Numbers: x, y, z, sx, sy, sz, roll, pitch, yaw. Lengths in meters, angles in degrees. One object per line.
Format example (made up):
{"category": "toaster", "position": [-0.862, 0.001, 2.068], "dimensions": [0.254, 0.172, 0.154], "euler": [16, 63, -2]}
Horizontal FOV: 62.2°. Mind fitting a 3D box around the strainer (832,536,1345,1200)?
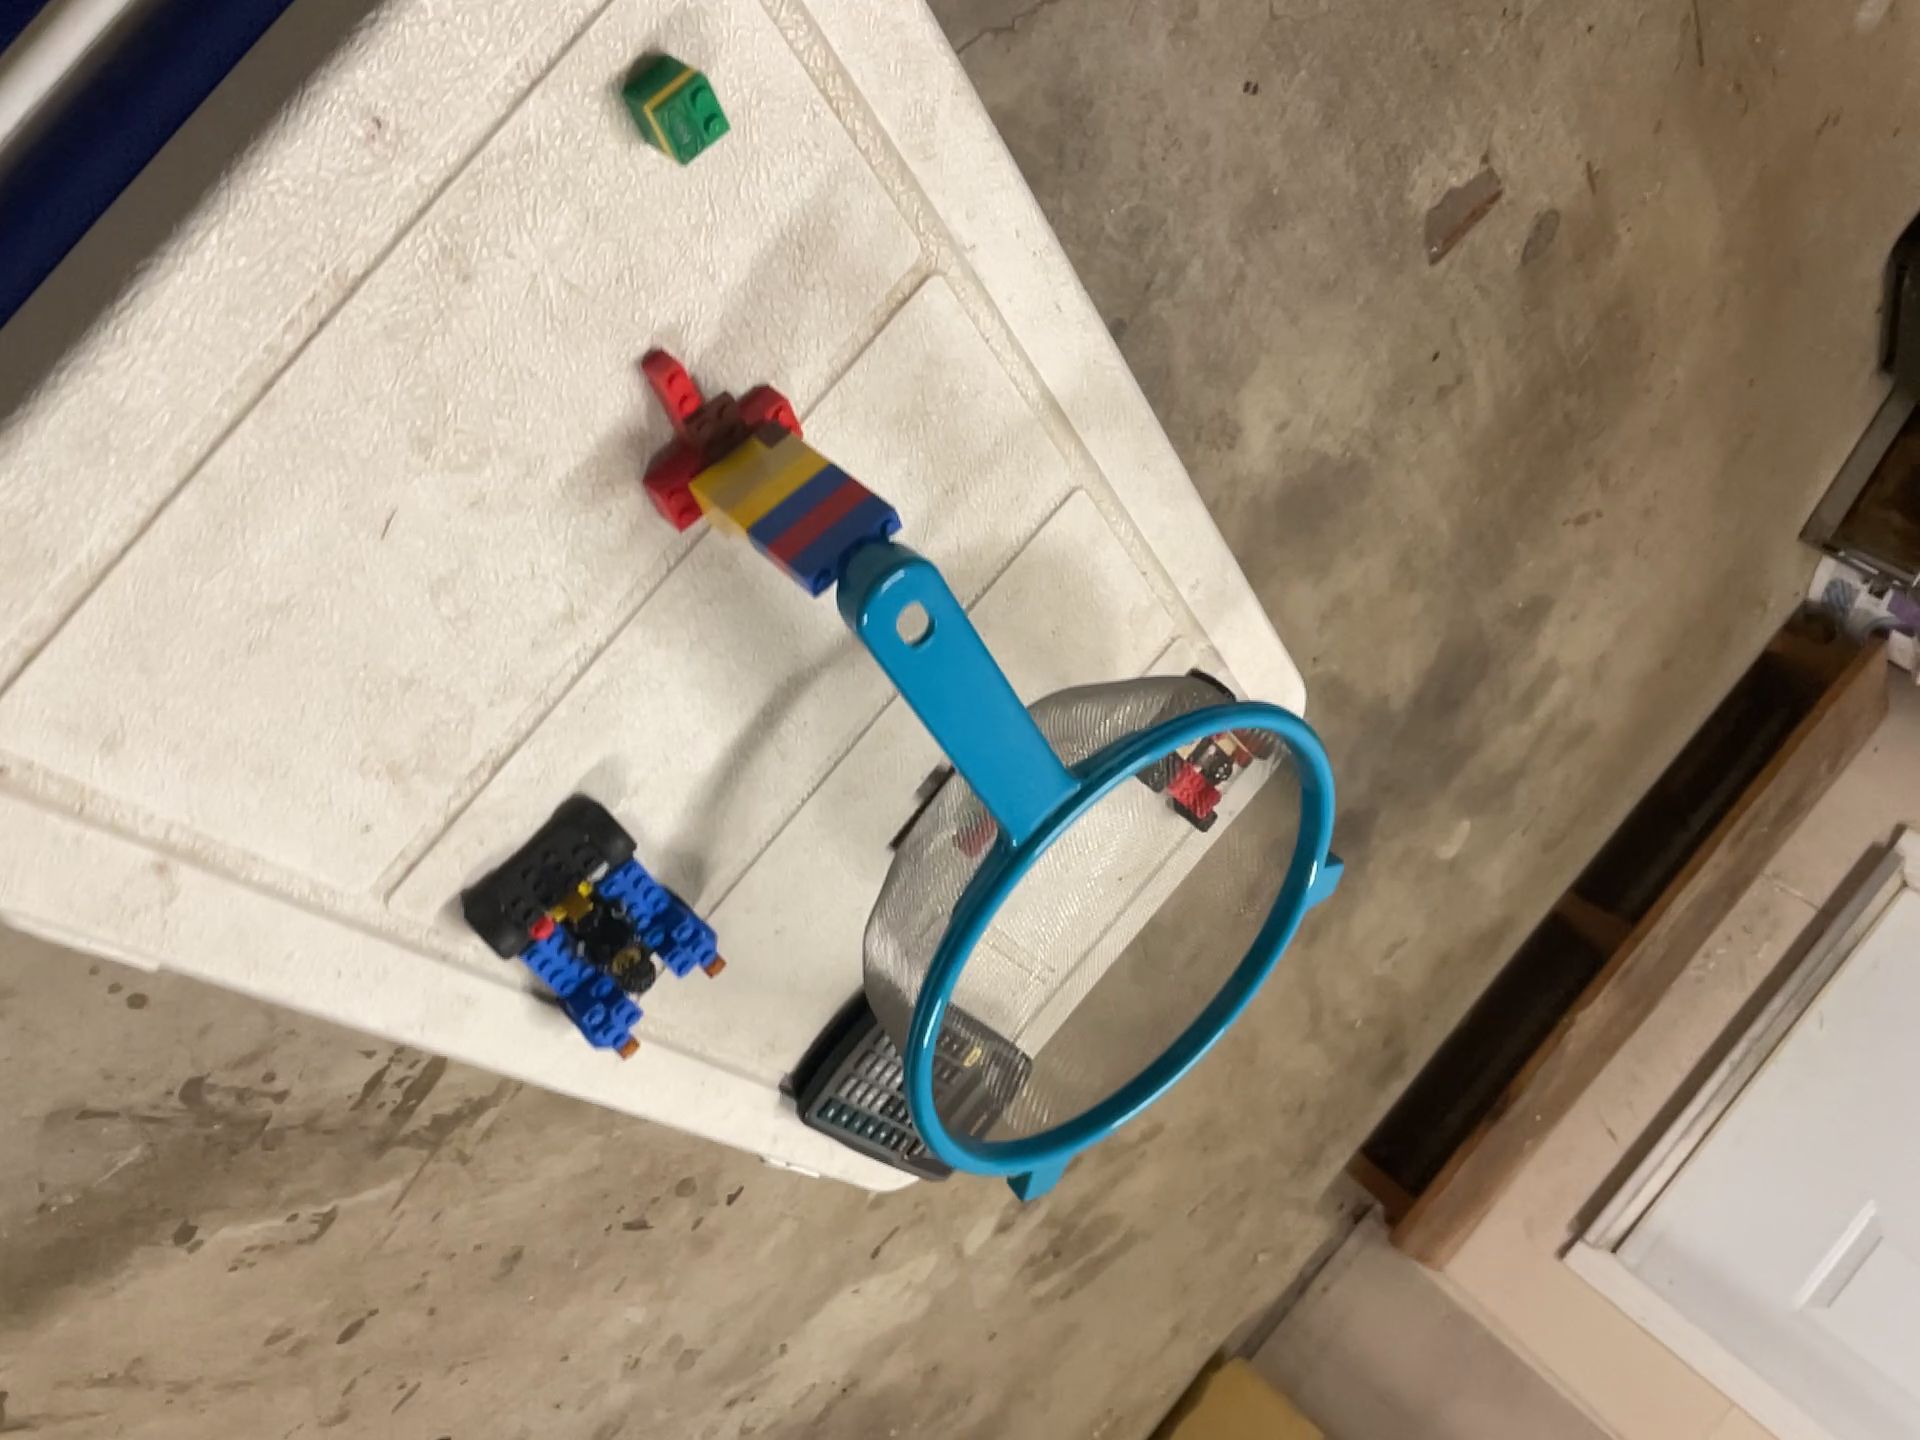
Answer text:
{"category": "strainer", "position": [0.017, 0.031, 0.571], "dimensions": [0.211, 0.095, 0.339], "euler": [-44, 140, -8]}
